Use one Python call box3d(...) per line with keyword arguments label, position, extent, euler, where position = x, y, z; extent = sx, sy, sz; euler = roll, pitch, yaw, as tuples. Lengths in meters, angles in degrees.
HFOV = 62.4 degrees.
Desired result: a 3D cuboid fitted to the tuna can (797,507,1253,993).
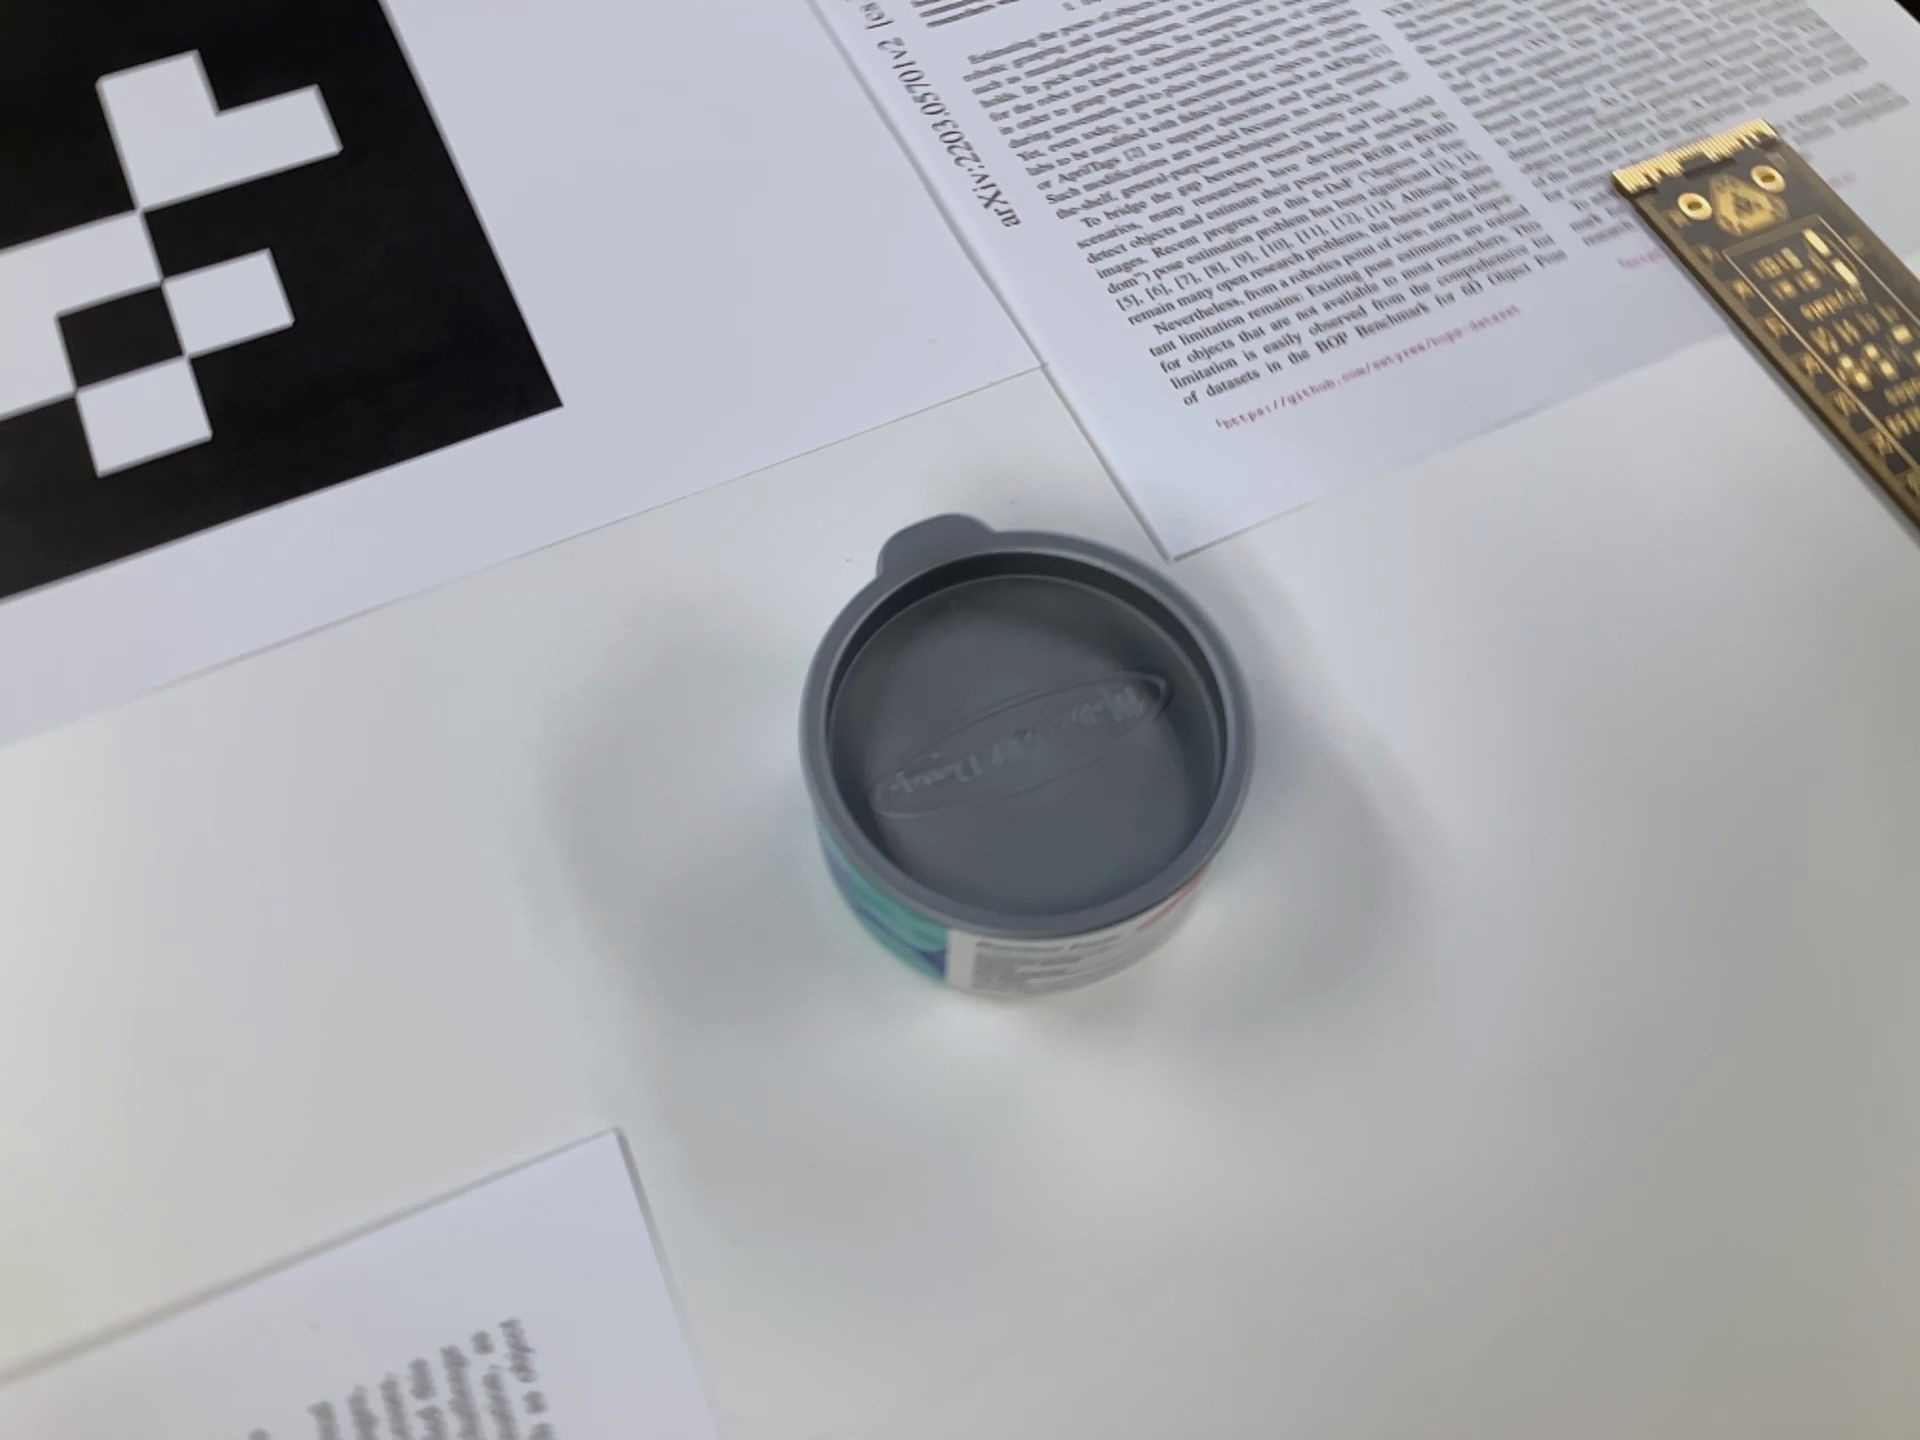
box3d(label="tuna can", position=(0.008, 0.004, 0.244), extent=(0.071, 0.033, 0.071), euler=(0, 63, 0))
